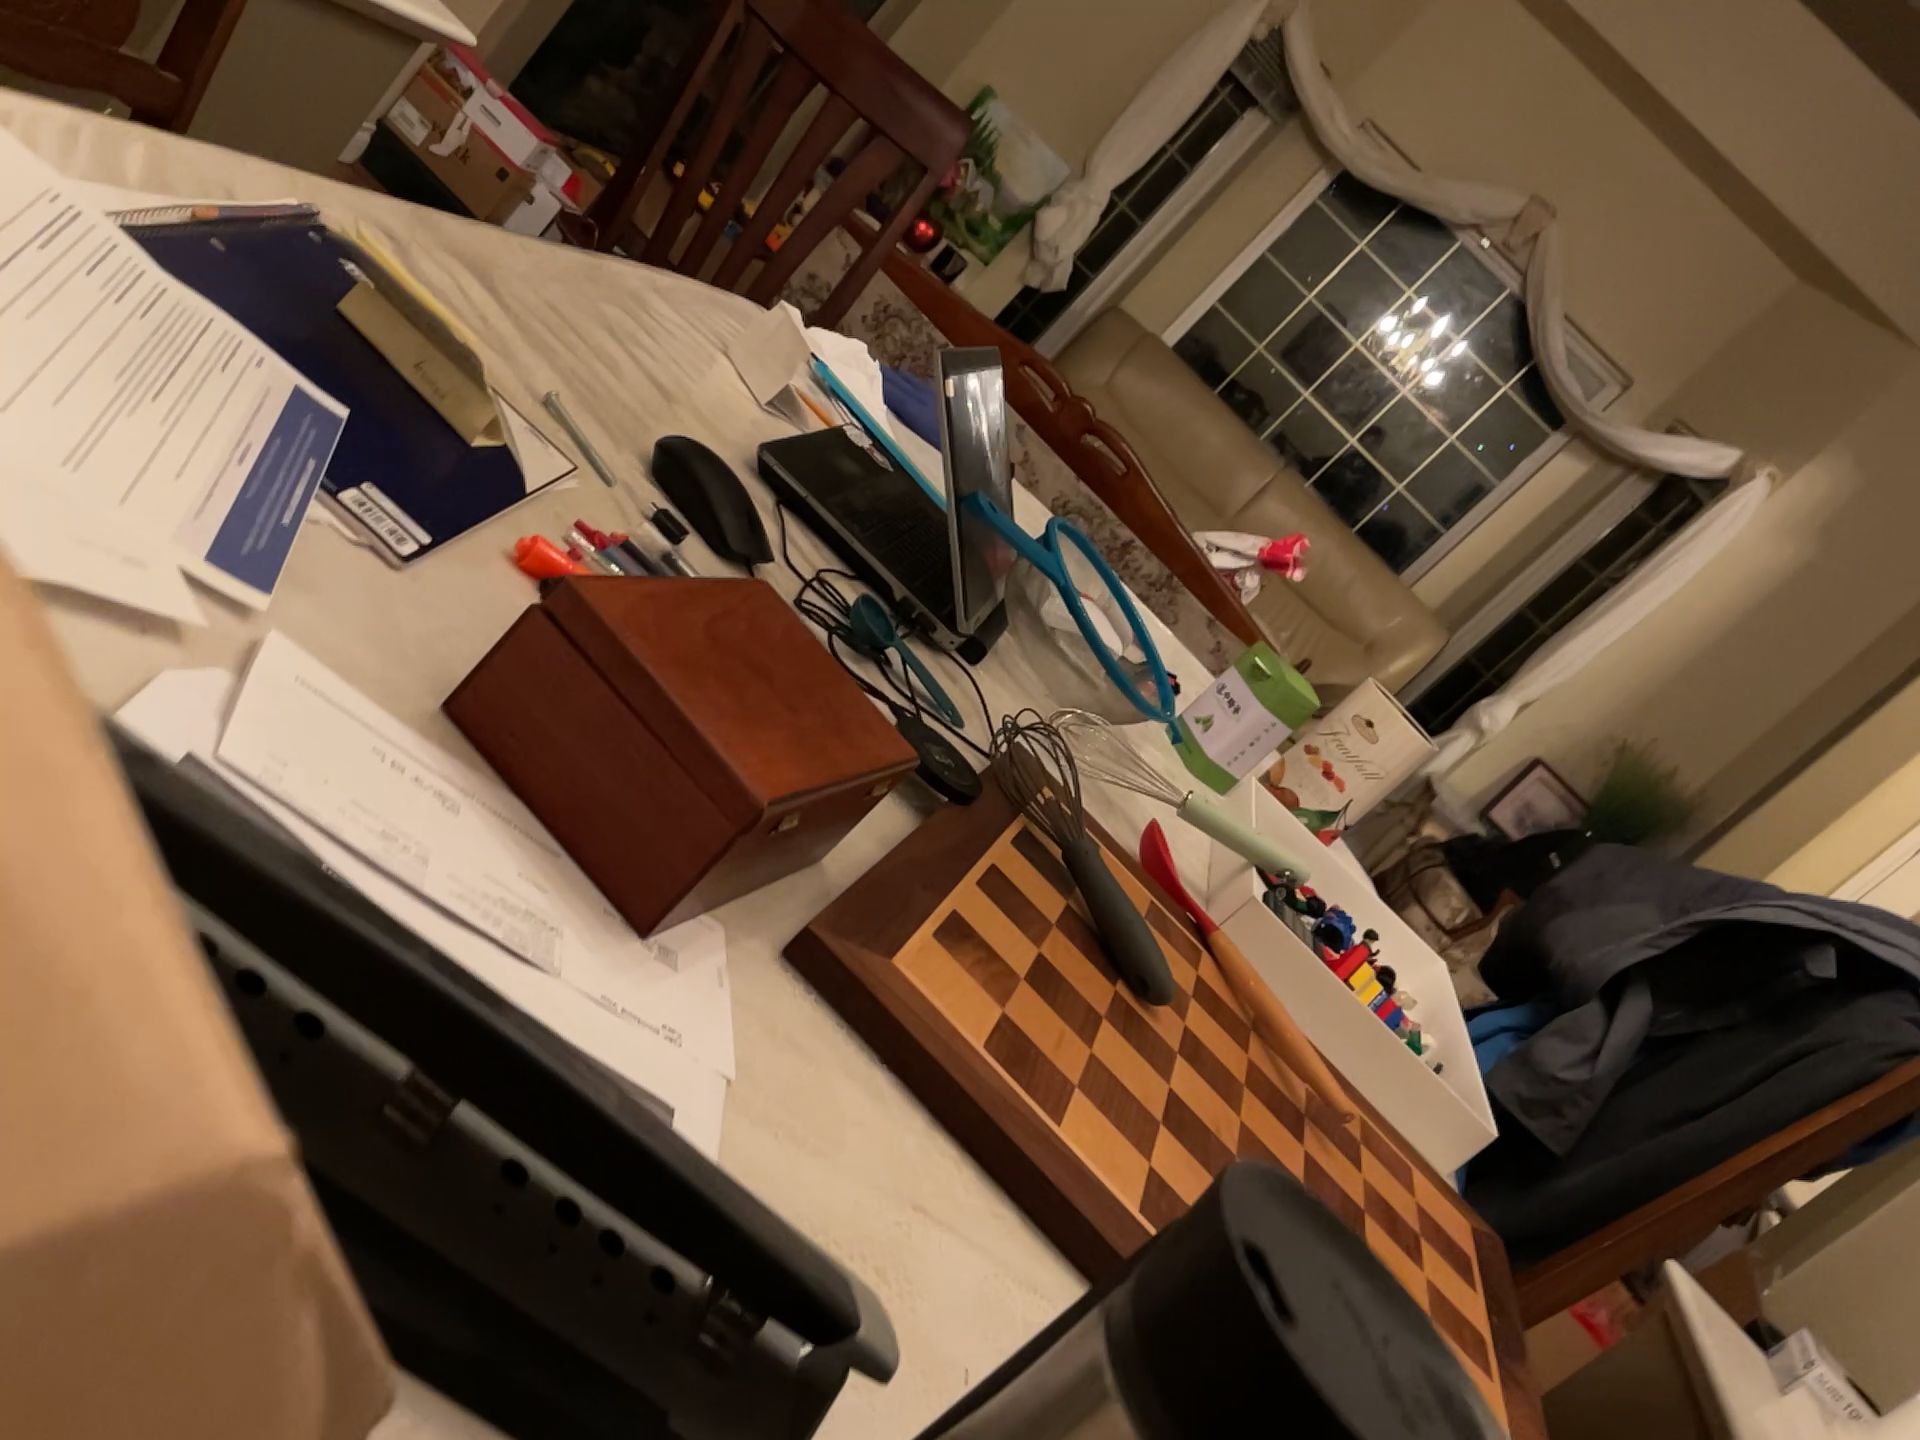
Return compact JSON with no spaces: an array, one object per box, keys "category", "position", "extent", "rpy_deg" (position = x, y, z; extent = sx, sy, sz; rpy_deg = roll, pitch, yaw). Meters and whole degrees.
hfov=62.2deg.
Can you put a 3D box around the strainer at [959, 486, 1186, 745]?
[{"category":"strainer","position":[0.067,-0.095,1.370],"extent":[0.339,0.095,0.211],"rpy_deg":[34,32,-50]}]

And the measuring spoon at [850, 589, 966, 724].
[{"category":"measuring spoon","position":[-0.039,-0.039,1.129],"extent":[0.128,0.021,0.042],"rpy_deg":[51,20,-26]}]

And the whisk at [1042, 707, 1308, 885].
[{"category":"whisk","position":[0.171,0.061,1.276],"extent":[0.246,0.058,0.059],"rpy_deg":[32,46,3]}]

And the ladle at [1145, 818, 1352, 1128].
[{"category":"ladle","position":[0.192,0.170,1.107],"extent":[0.069,0.031,0.316],"rpy_deg":[61,-1,-35]}]

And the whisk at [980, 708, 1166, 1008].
[{"category":"whisk","position":[0.071,0.082,1.003],"extent":[0.055,0.055,0.239],"rpy_deg":[13,38,-39]}]
